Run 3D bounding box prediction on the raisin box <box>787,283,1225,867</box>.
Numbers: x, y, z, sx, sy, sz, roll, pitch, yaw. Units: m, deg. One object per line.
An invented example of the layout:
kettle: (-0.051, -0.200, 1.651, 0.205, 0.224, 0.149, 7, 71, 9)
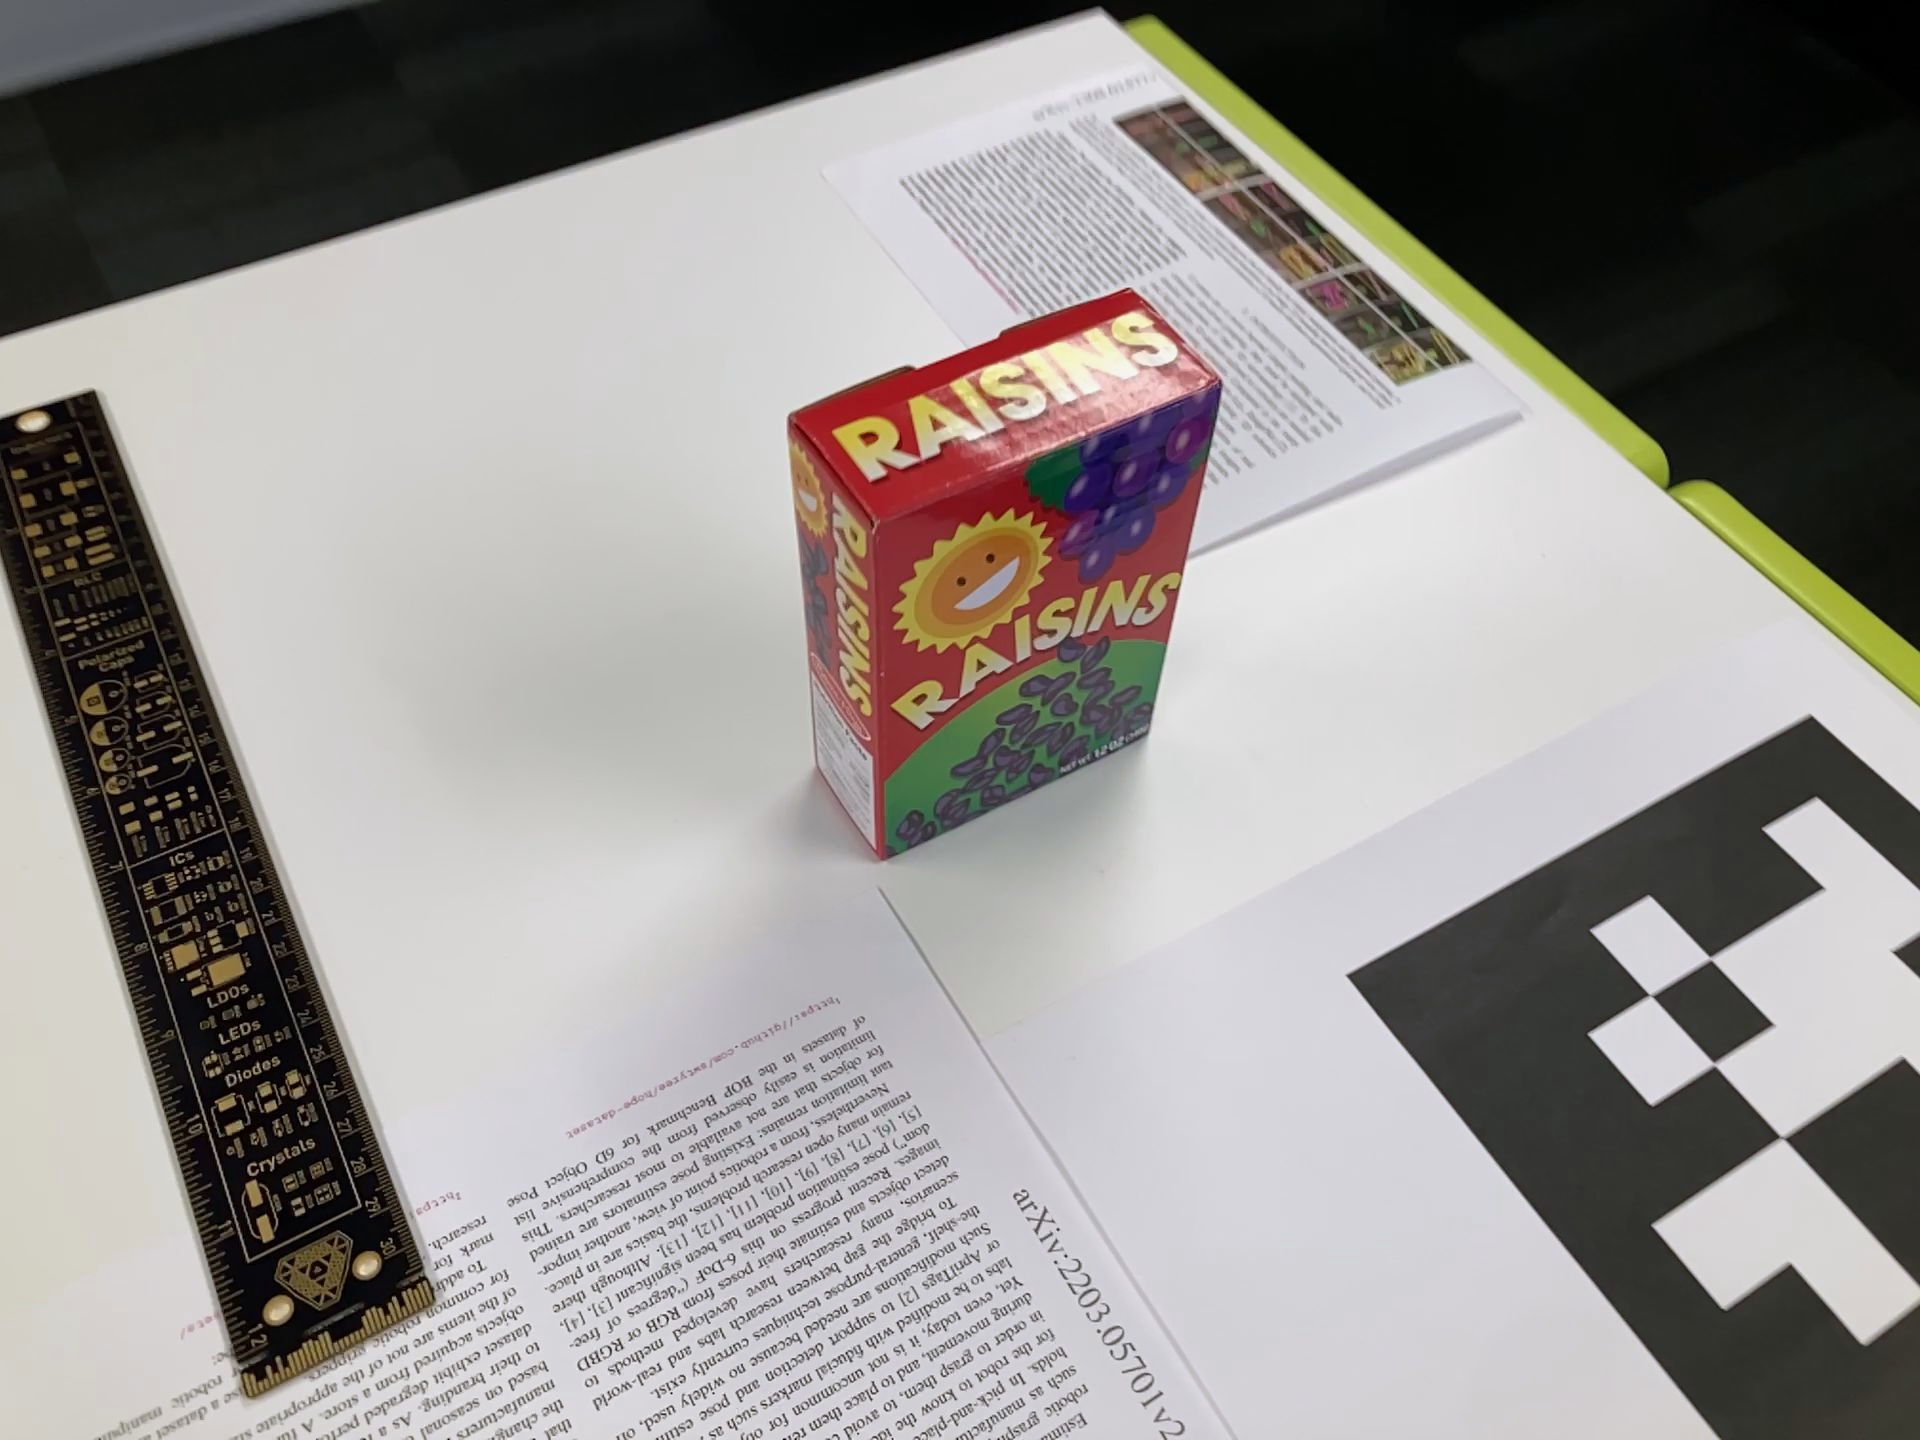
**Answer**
raisin box: (0.009, -0.030, 0.369, 0.086, 0.123, 0.040, -24, 57, -19)
